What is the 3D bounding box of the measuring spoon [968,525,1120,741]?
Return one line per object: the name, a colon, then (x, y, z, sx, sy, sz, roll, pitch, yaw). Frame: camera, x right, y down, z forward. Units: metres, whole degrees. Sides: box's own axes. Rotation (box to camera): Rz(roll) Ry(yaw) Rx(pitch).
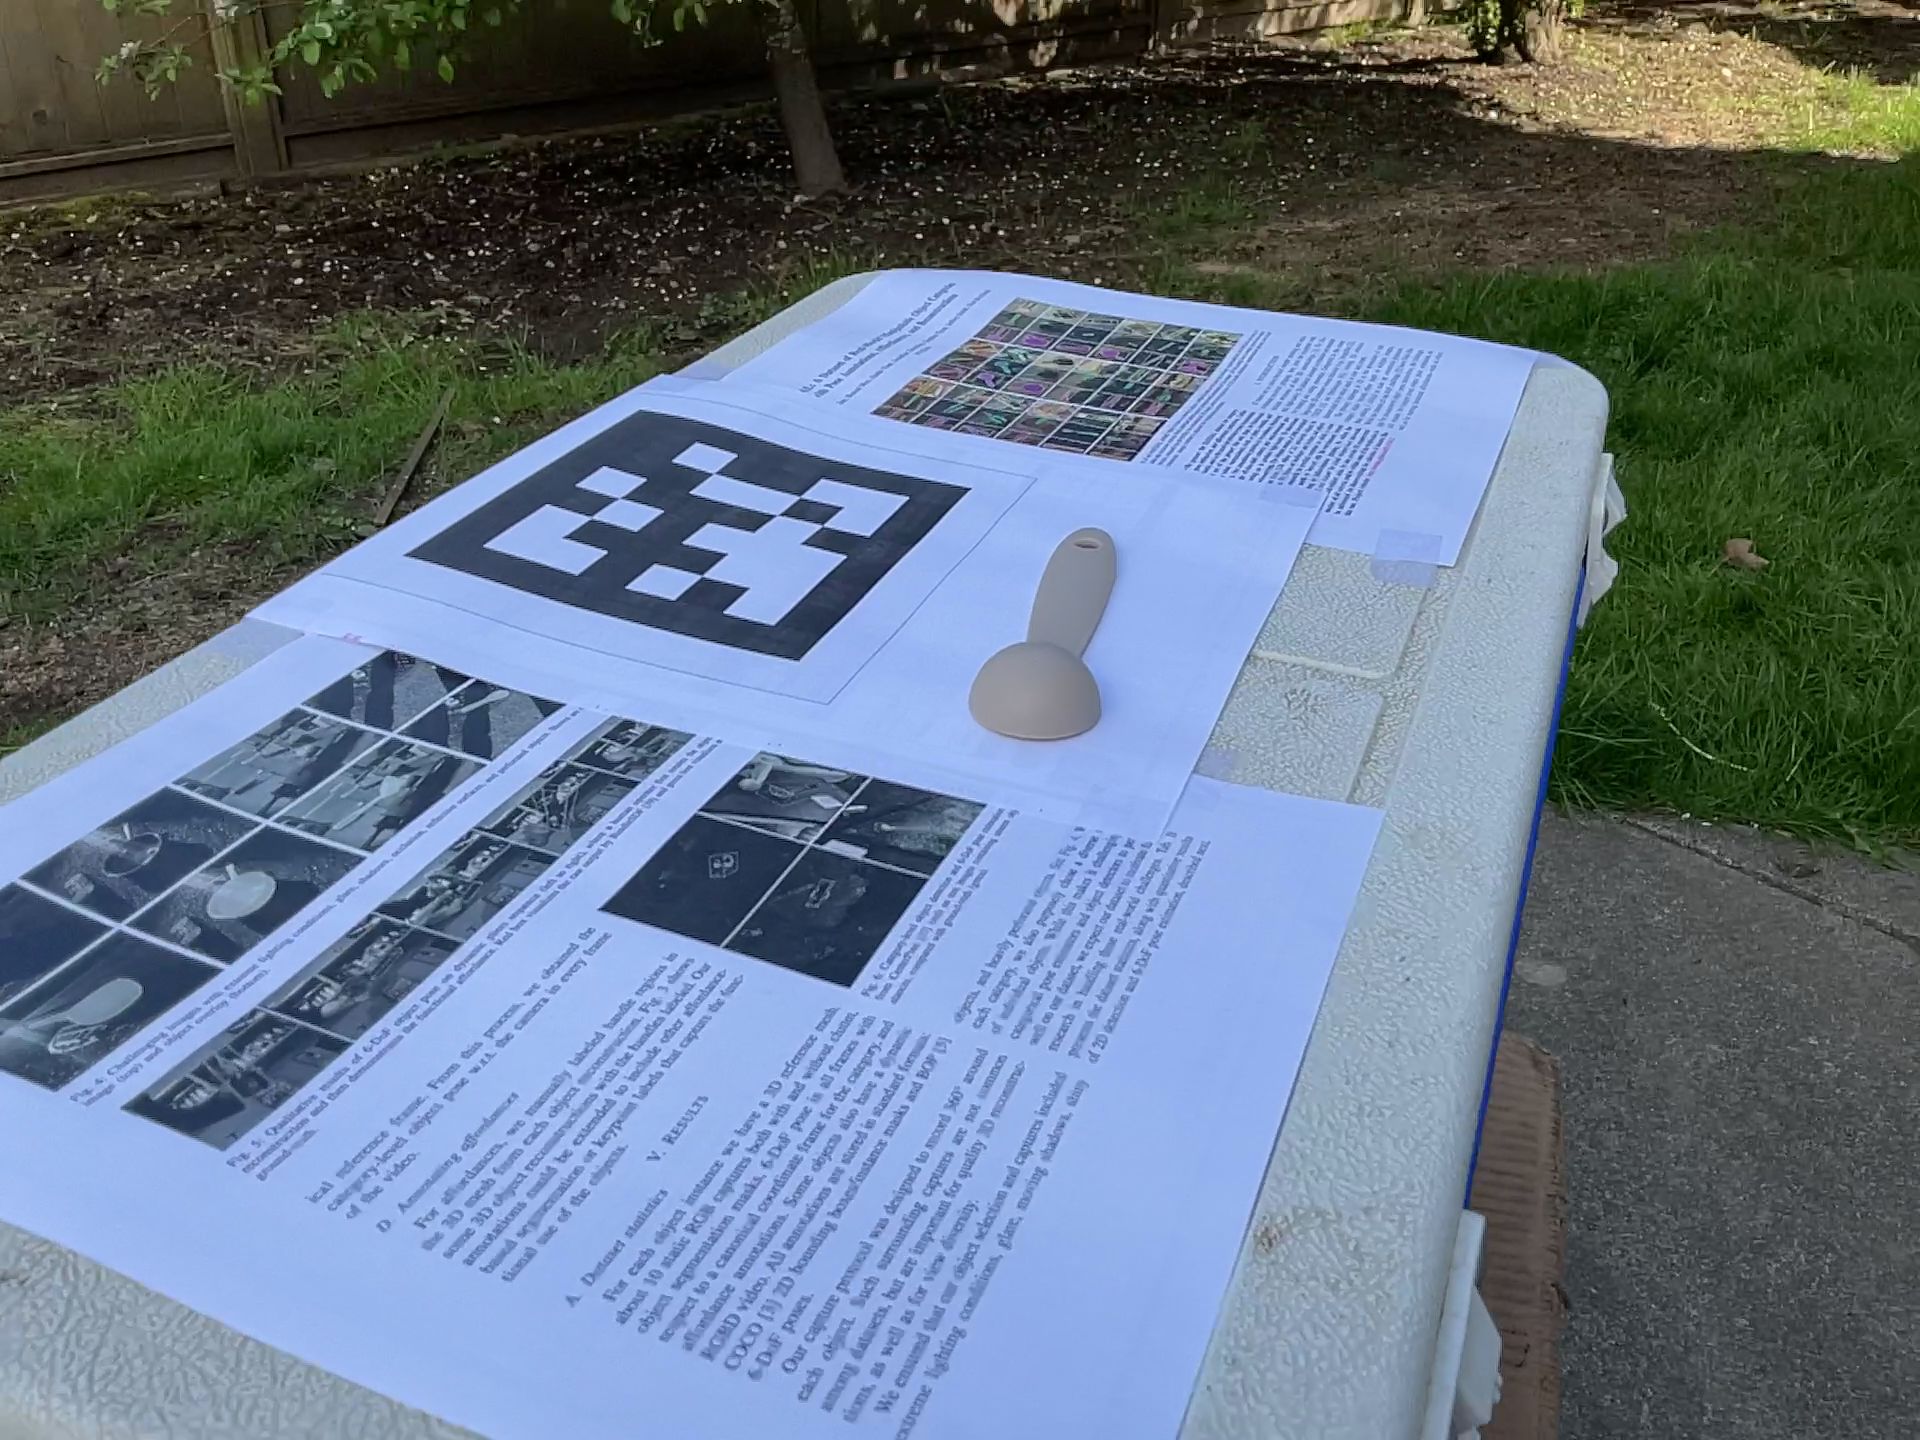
measuring spoon: (0.029, -0.032, 0.438, 0.034, 0.018, 0.124, 7, 32, 10)
